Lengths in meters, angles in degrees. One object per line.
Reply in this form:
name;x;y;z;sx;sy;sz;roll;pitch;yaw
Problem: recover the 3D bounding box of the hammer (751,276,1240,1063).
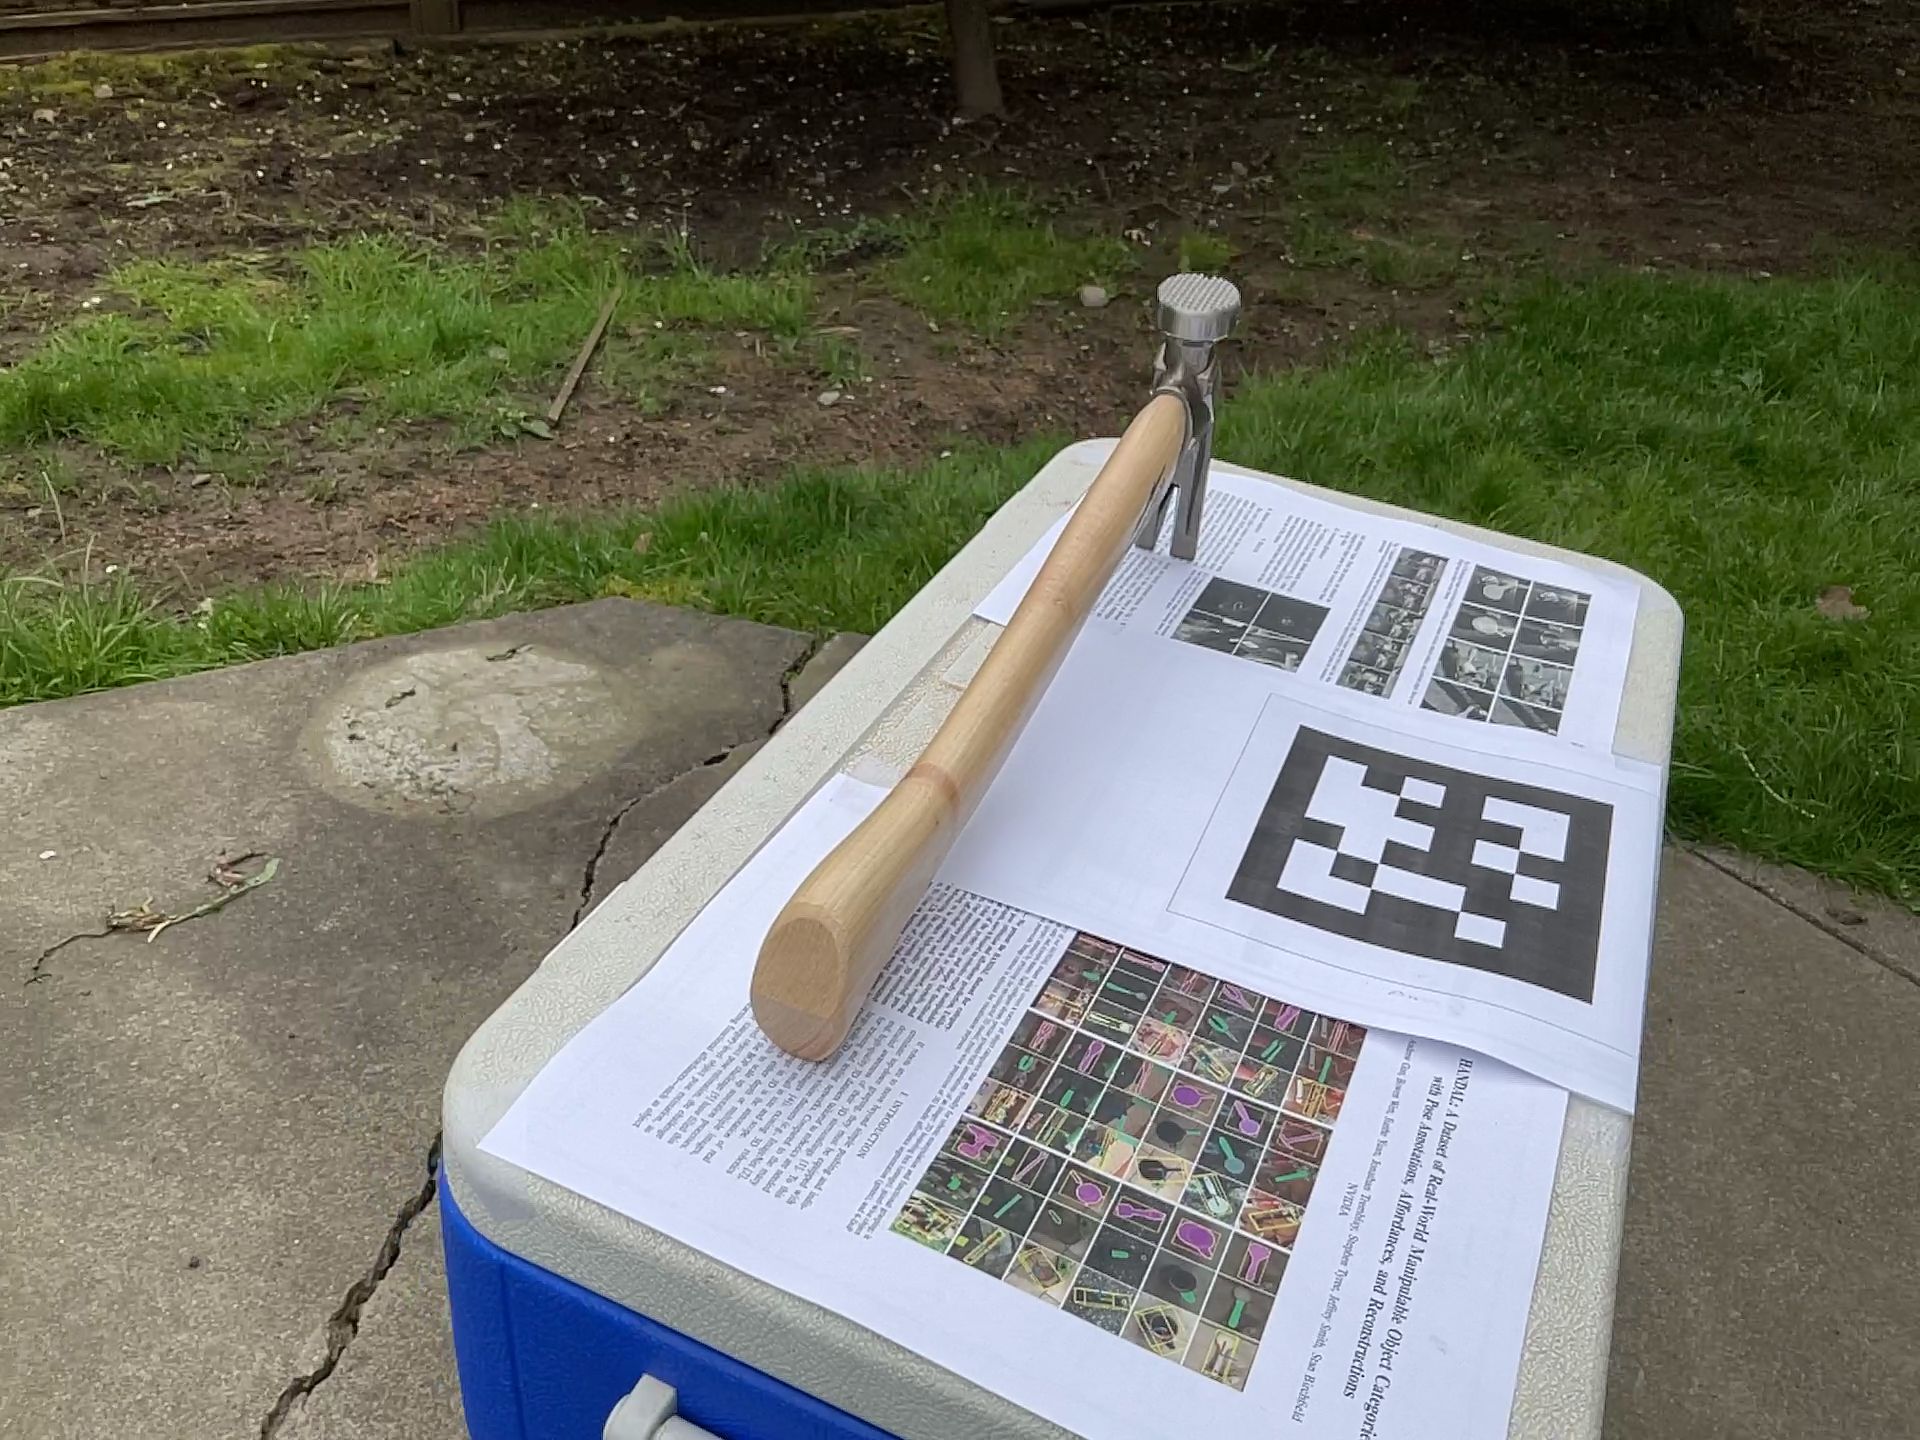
hammer;0.030;-0.024;0.636;0.038;0.146;0.411;17;45;16
